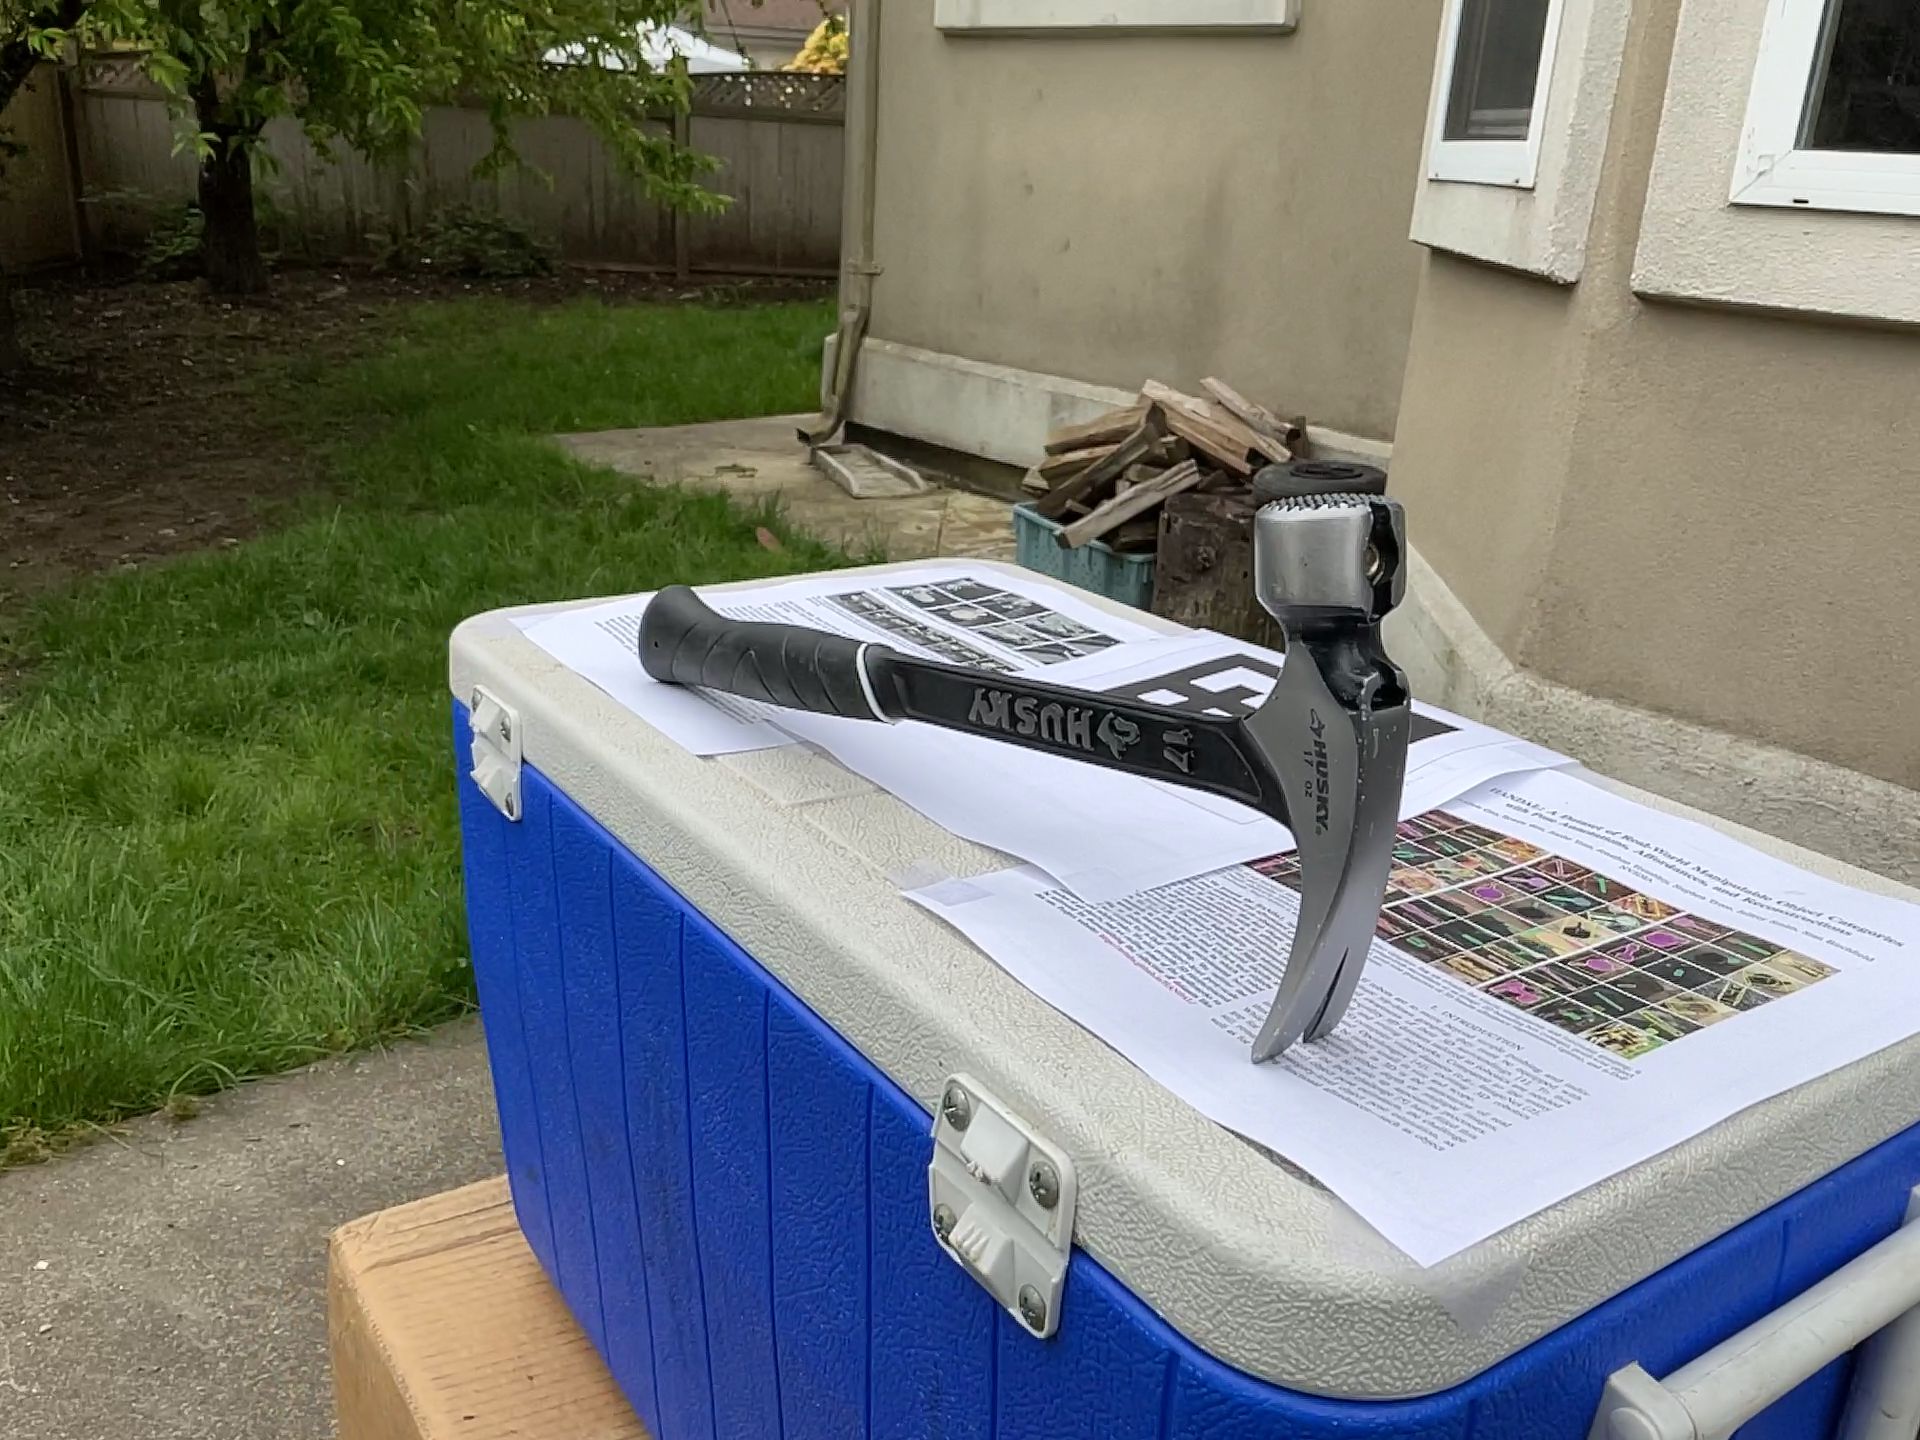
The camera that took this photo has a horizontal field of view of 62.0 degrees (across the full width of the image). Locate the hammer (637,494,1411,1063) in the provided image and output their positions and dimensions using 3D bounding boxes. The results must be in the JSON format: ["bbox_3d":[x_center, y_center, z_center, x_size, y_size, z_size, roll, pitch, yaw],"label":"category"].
[{"bbox_3d":[-0.014,-0.005,0.555,0.036,0.149,0.409,-12,14,-34],"label":"hammer"}]
